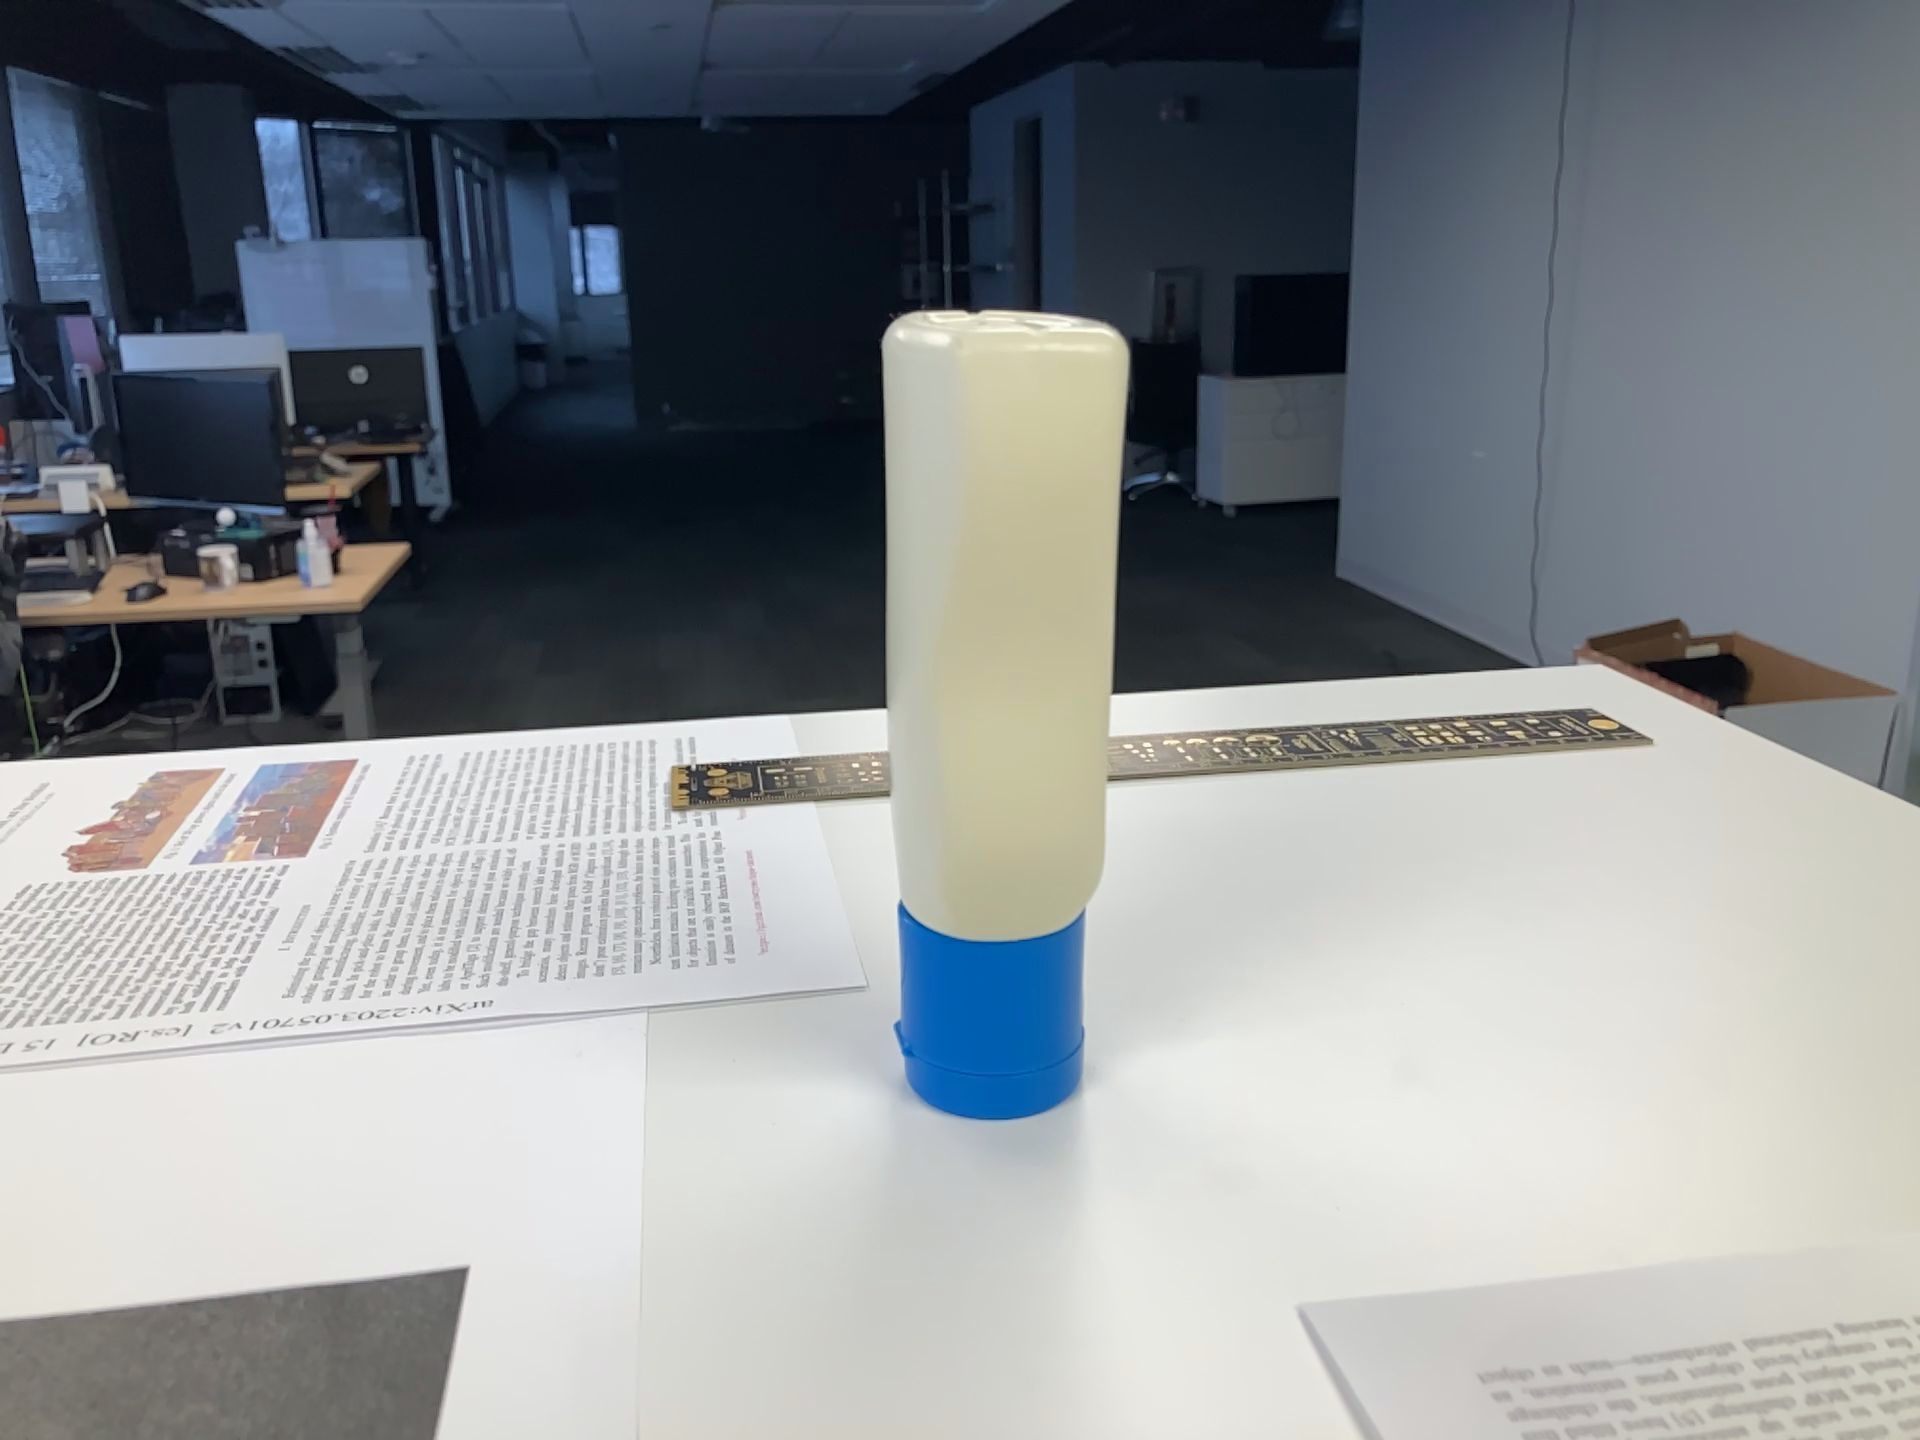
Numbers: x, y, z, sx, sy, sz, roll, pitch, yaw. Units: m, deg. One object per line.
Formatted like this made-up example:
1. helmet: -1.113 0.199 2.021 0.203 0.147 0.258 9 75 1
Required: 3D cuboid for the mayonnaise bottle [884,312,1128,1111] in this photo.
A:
1. mayonnaise bottle: 0.007 0.000 0.301 0.041 0.148 0.065 -4 17 -11
